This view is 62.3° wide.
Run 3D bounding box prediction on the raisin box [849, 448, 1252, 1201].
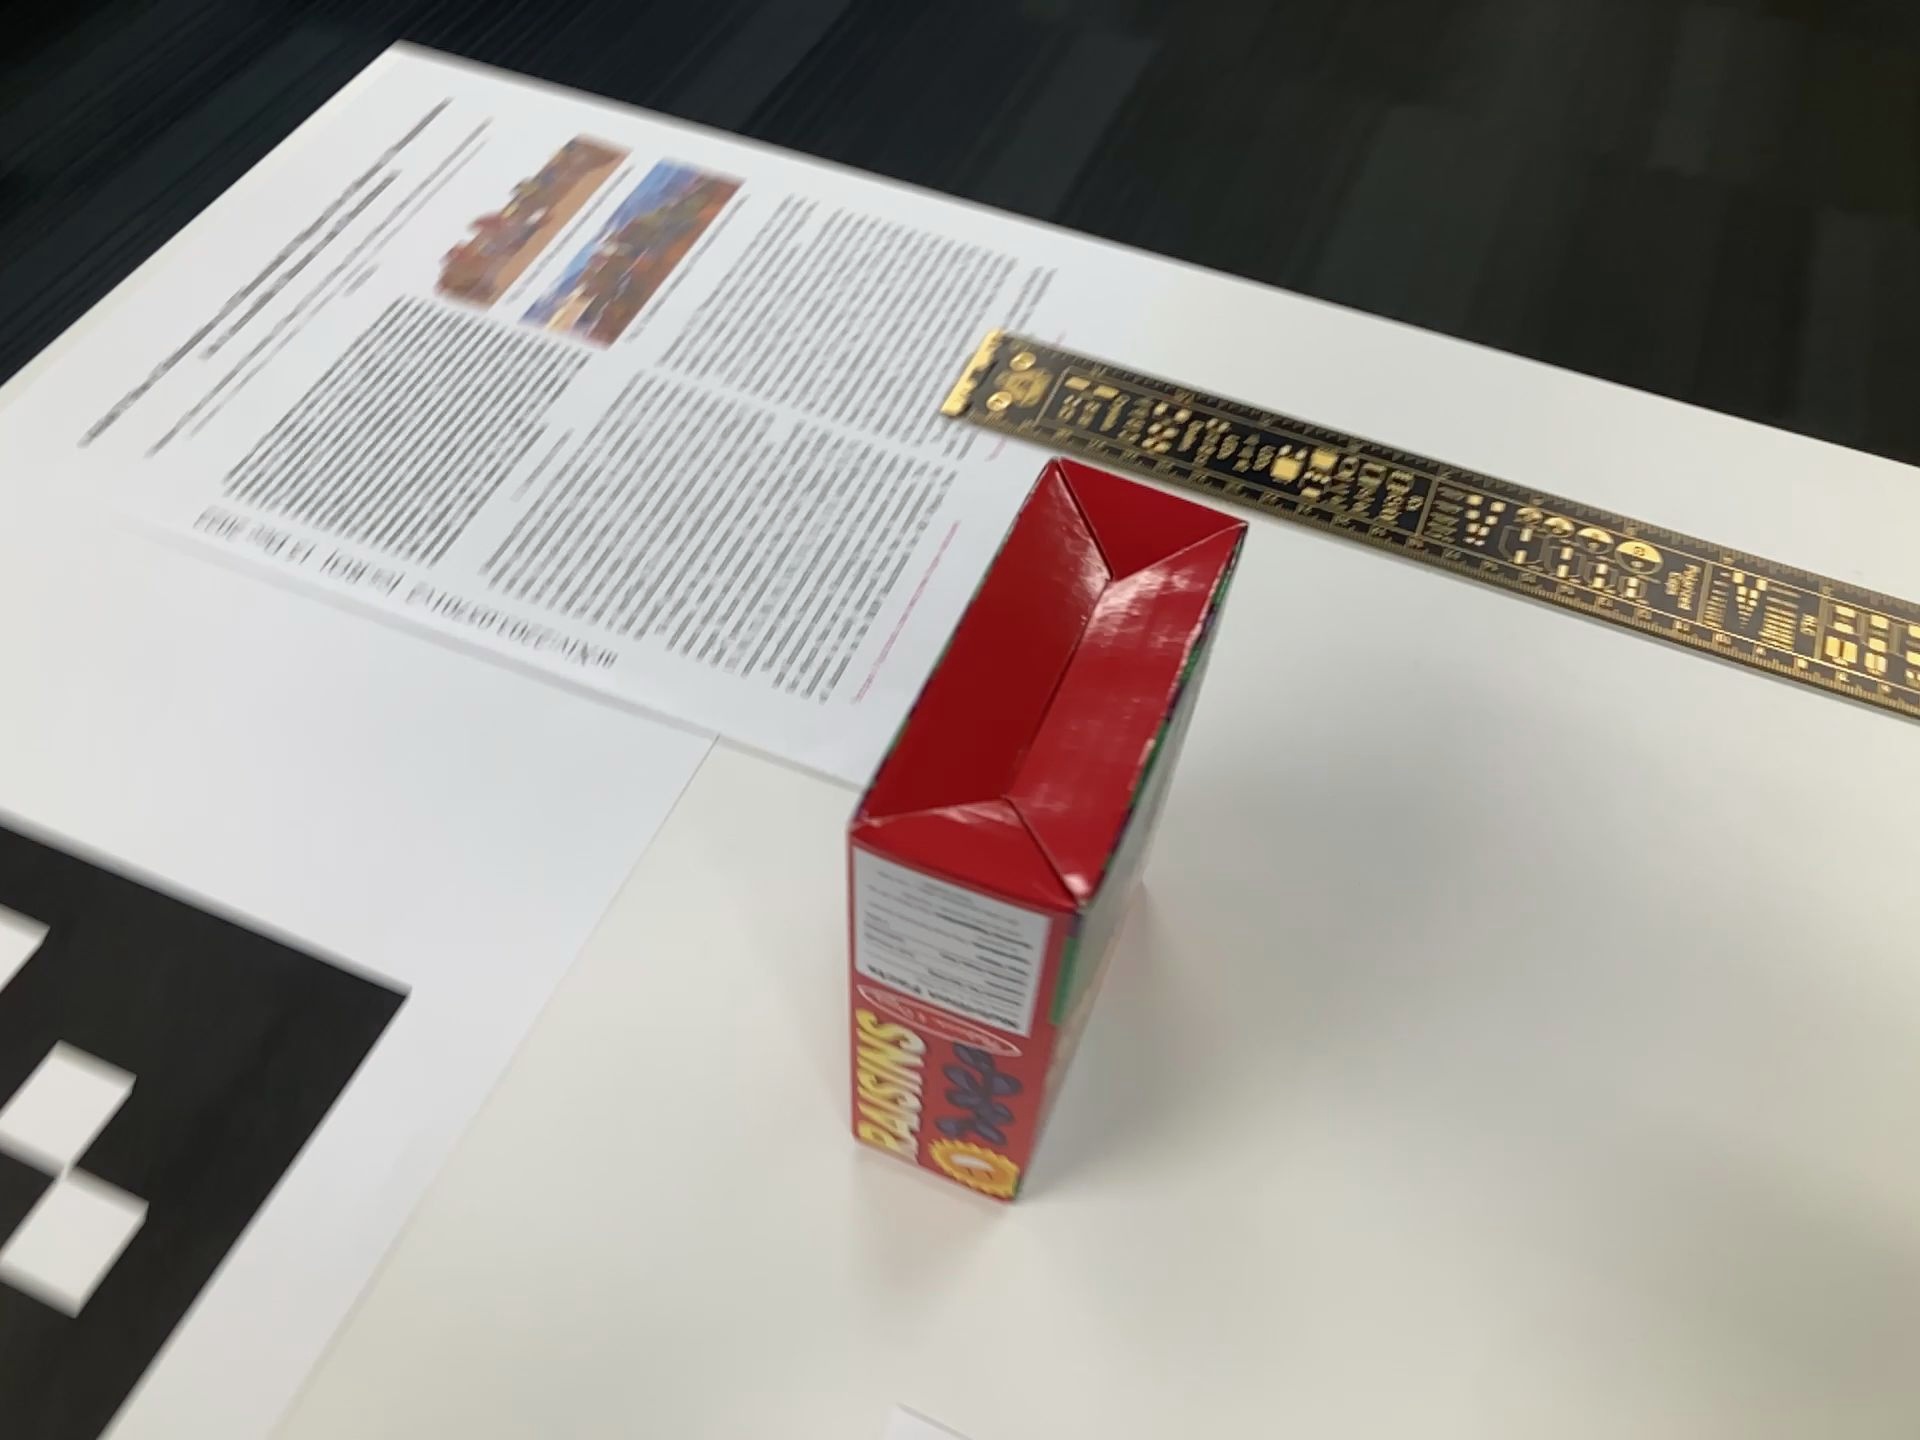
[{"bbox_3d":[0.012,0.025,0.295,0.040,0.123,0.086,20,56,10],"label":"raisin box"}]
